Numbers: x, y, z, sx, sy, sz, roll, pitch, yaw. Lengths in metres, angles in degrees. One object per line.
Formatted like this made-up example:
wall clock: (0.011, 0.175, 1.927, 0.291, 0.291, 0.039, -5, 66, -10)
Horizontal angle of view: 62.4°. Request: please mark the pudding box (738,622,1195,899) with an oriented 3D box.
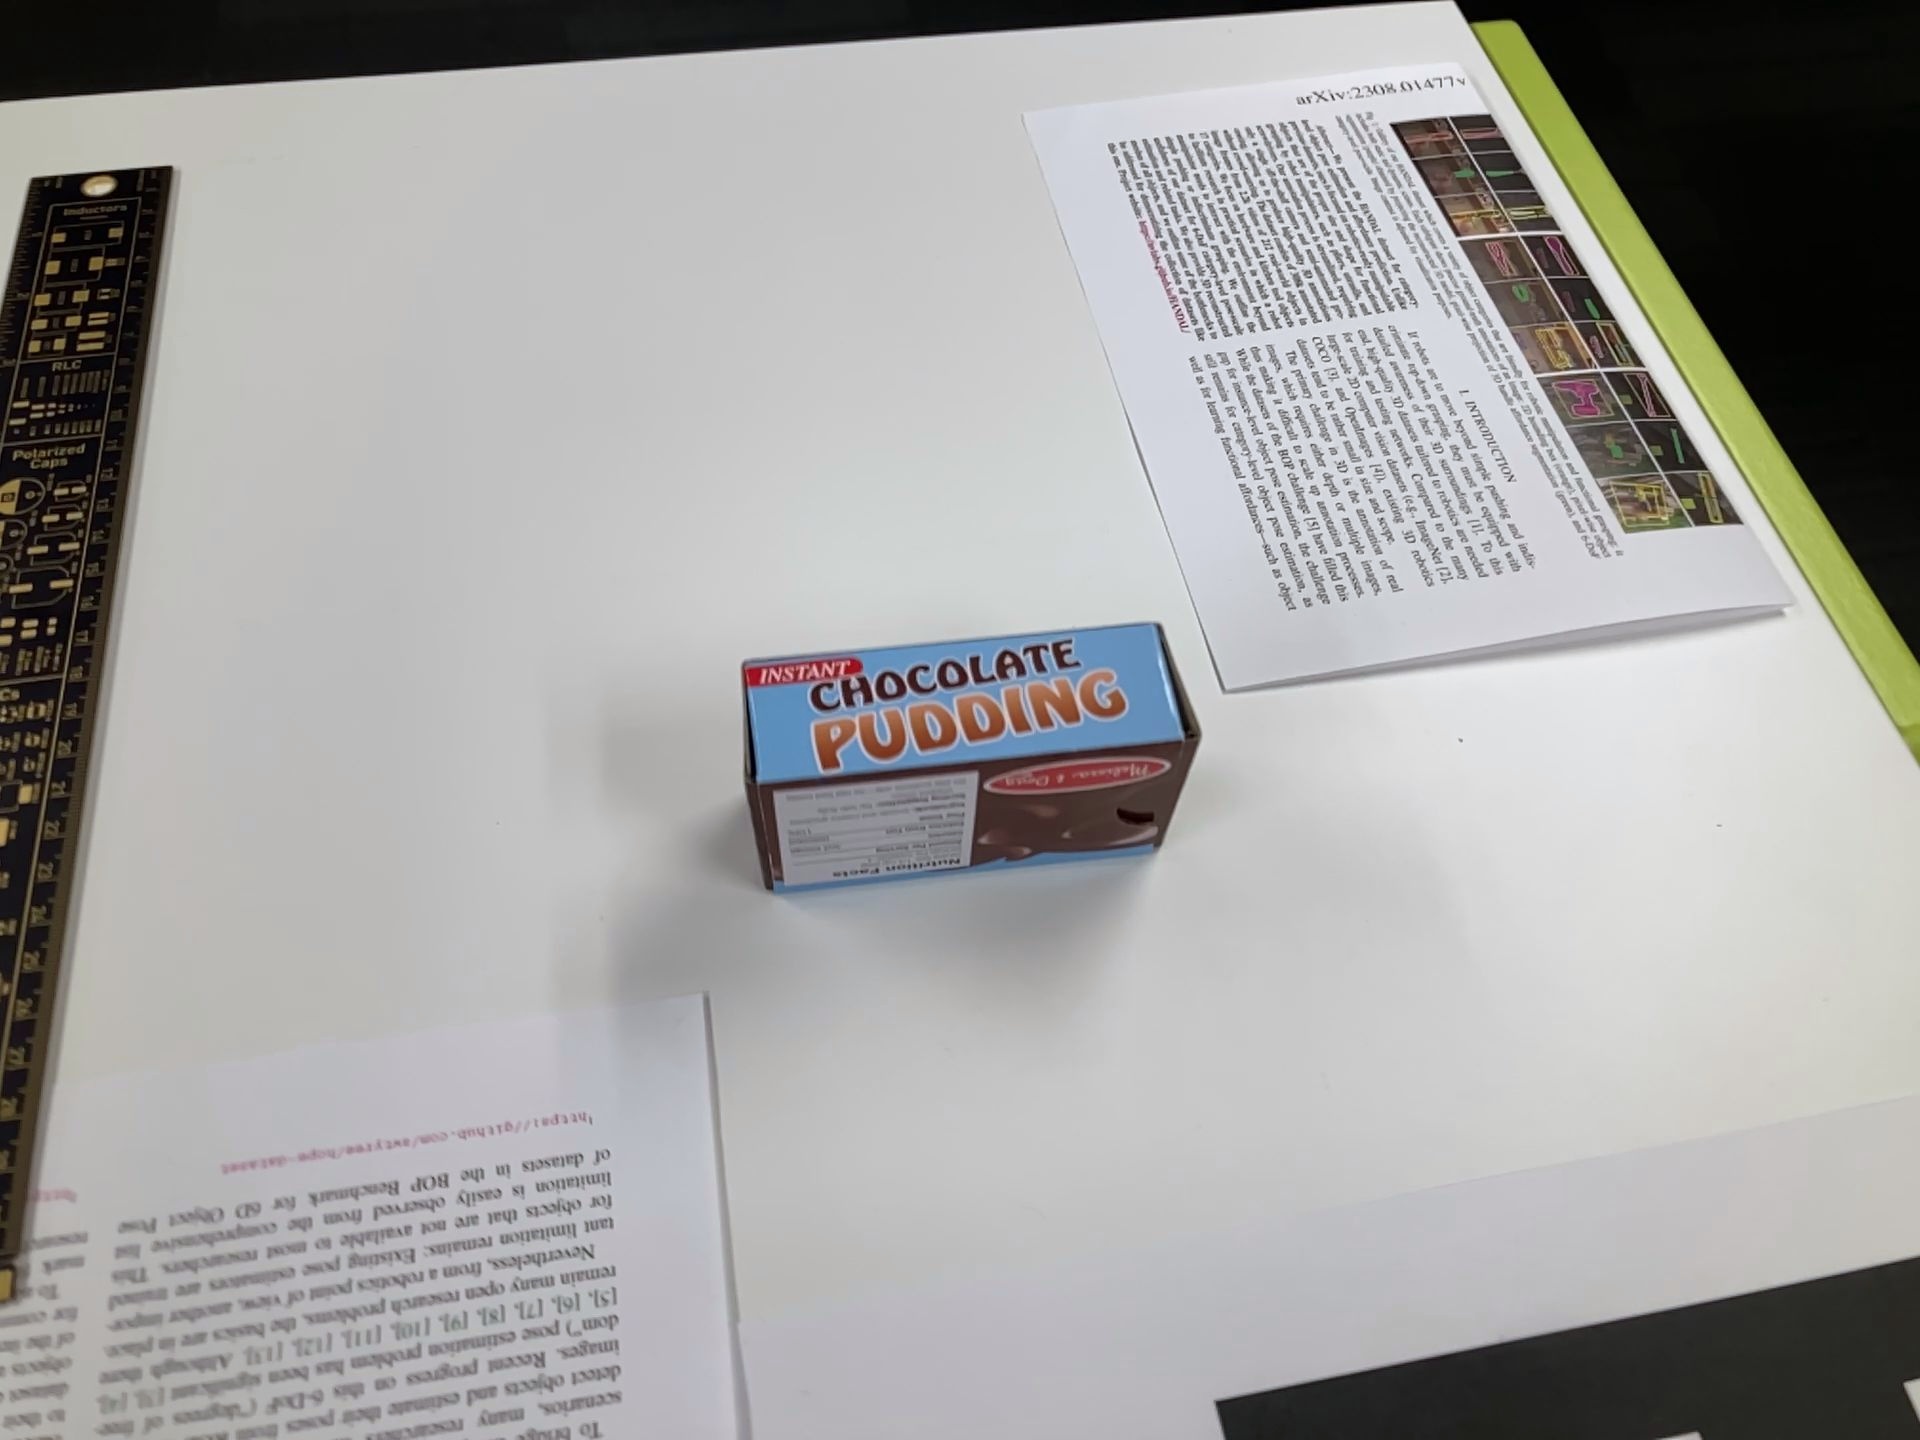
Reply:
pudding box: (0.000, 0.009, 0.317, 0.083, 0.049, 0.030, -6, 58, -6)
